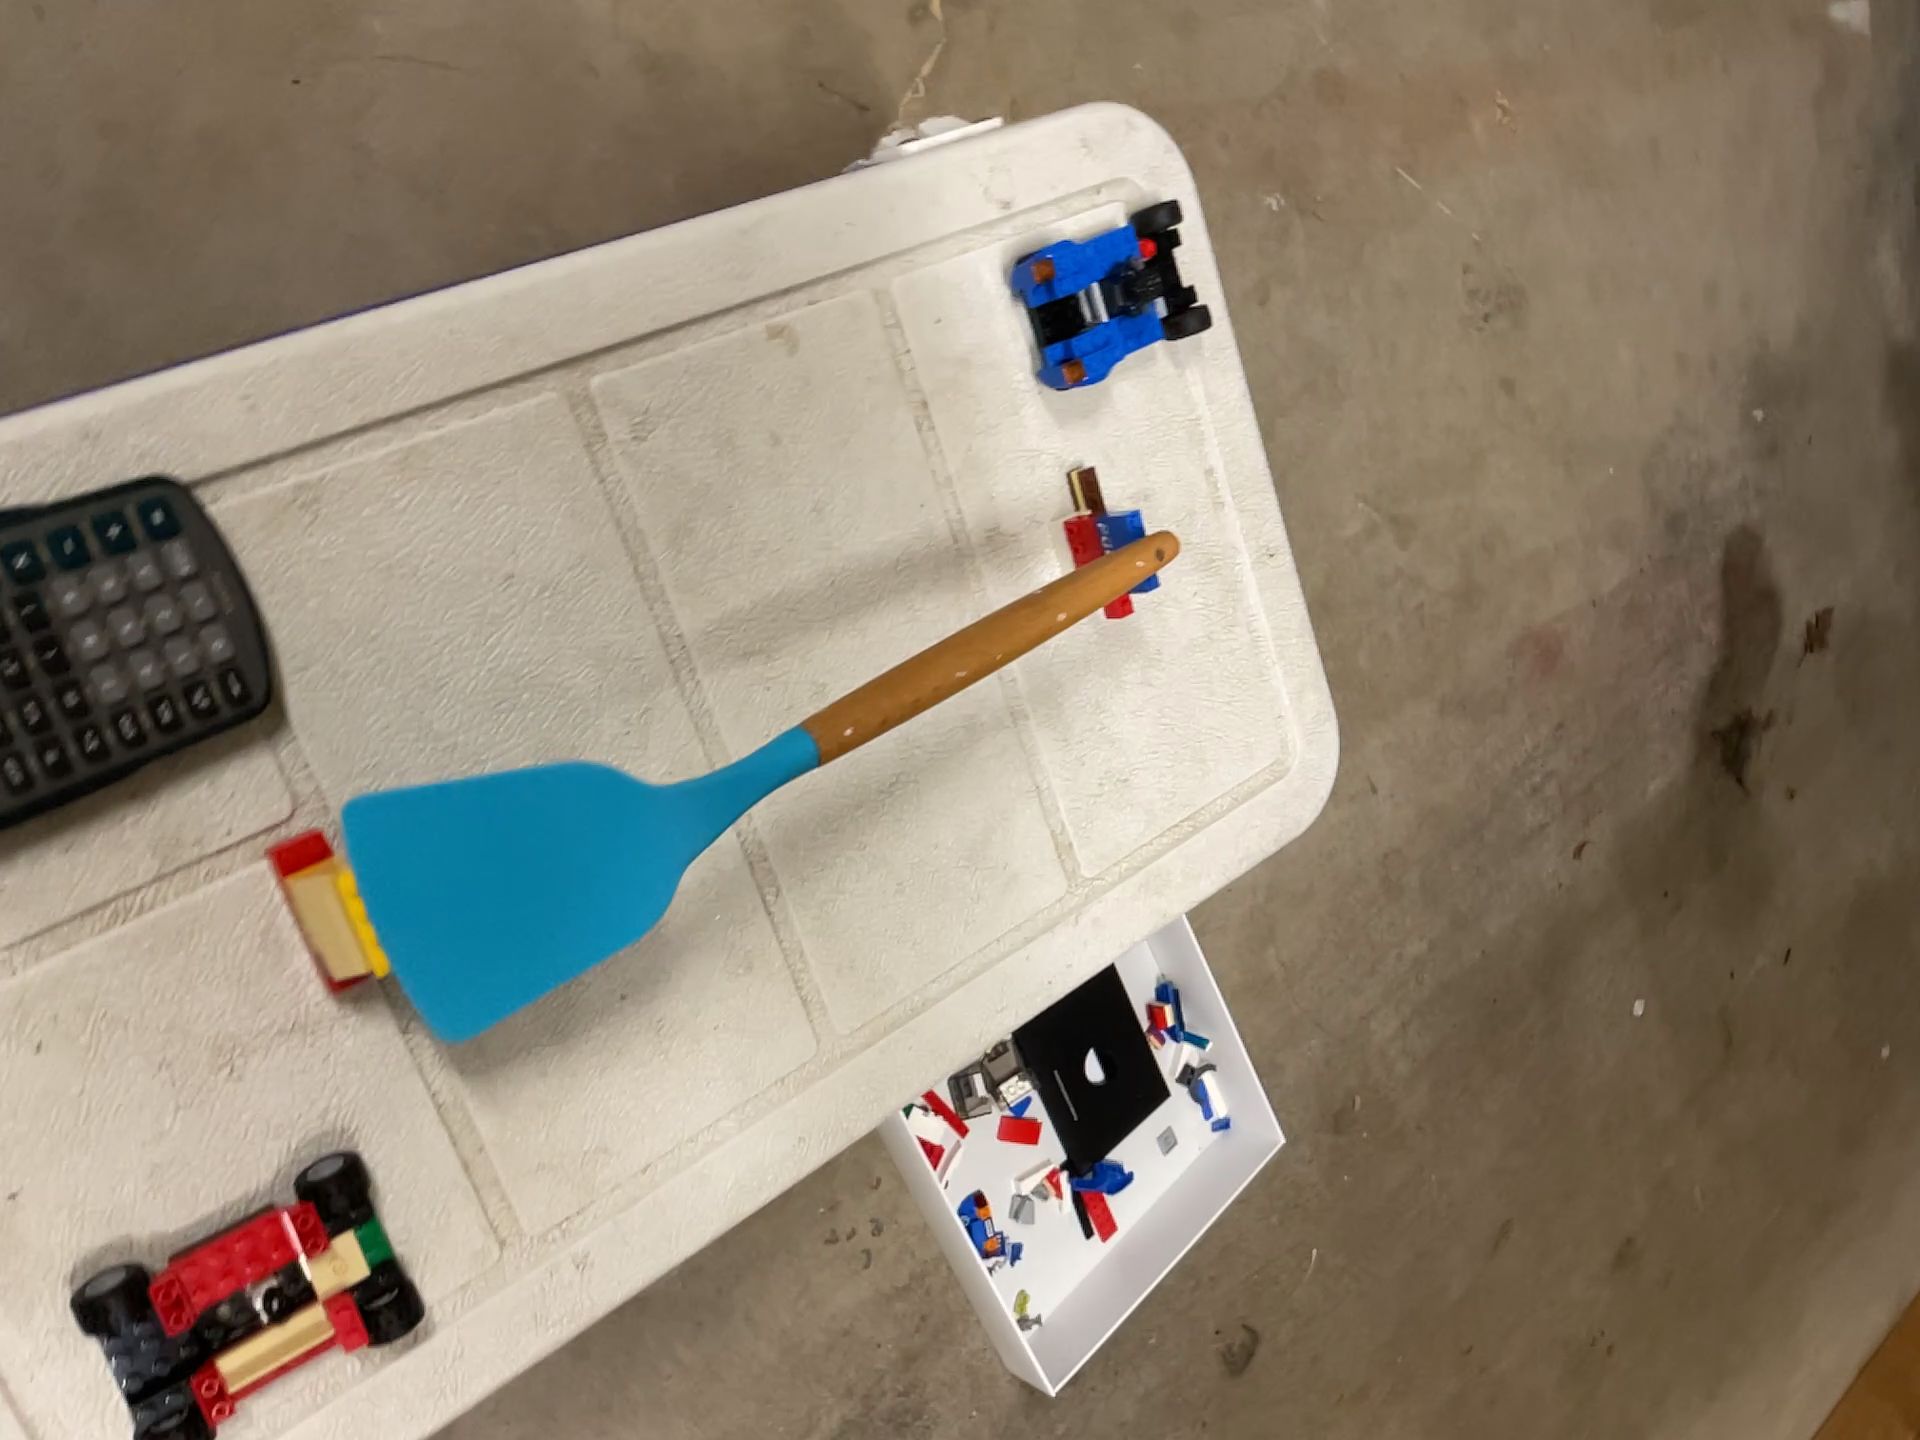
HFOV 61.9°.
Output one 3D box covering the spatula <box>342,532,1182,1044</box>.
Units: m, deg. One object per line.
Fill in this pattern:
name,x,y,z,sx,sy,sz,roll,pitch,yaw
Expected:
spatula,-0.038,-0.003,0.532,0.318,0.044,0.082,-29,108,-35
